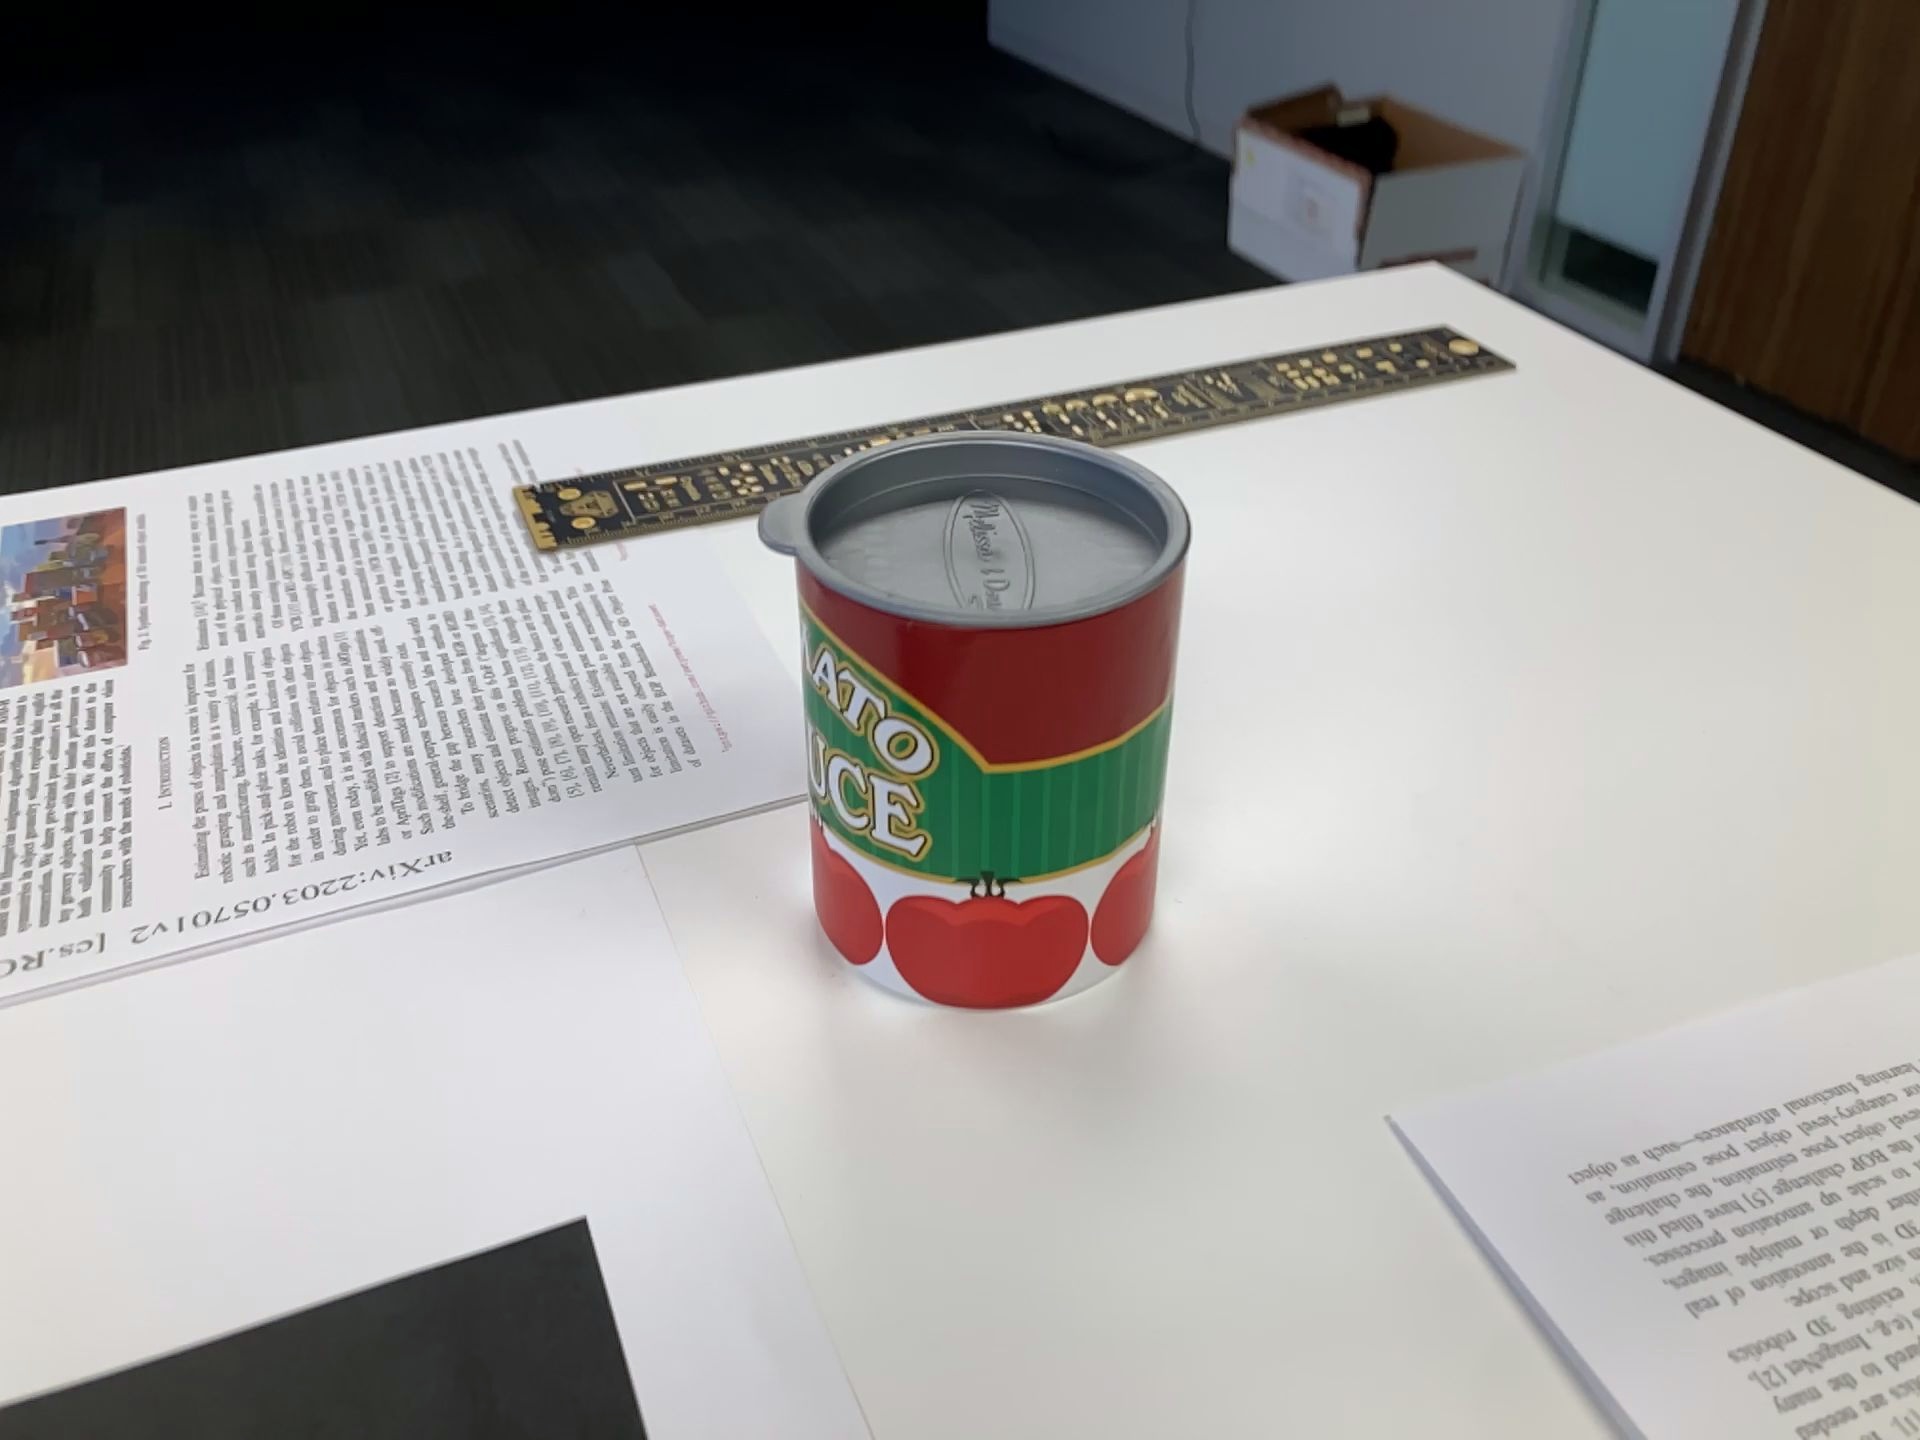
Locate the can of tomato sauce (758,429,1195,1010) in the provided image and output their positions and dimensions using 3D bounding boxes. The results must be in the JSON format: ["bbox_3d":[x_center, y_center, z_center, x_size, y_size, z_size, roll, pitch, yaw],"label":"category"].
[{"bbox_3d":[0.003,0.000,0.283,0.071,0.083,0.071,0,35,0],"label":"can of tomato sauce"}]
